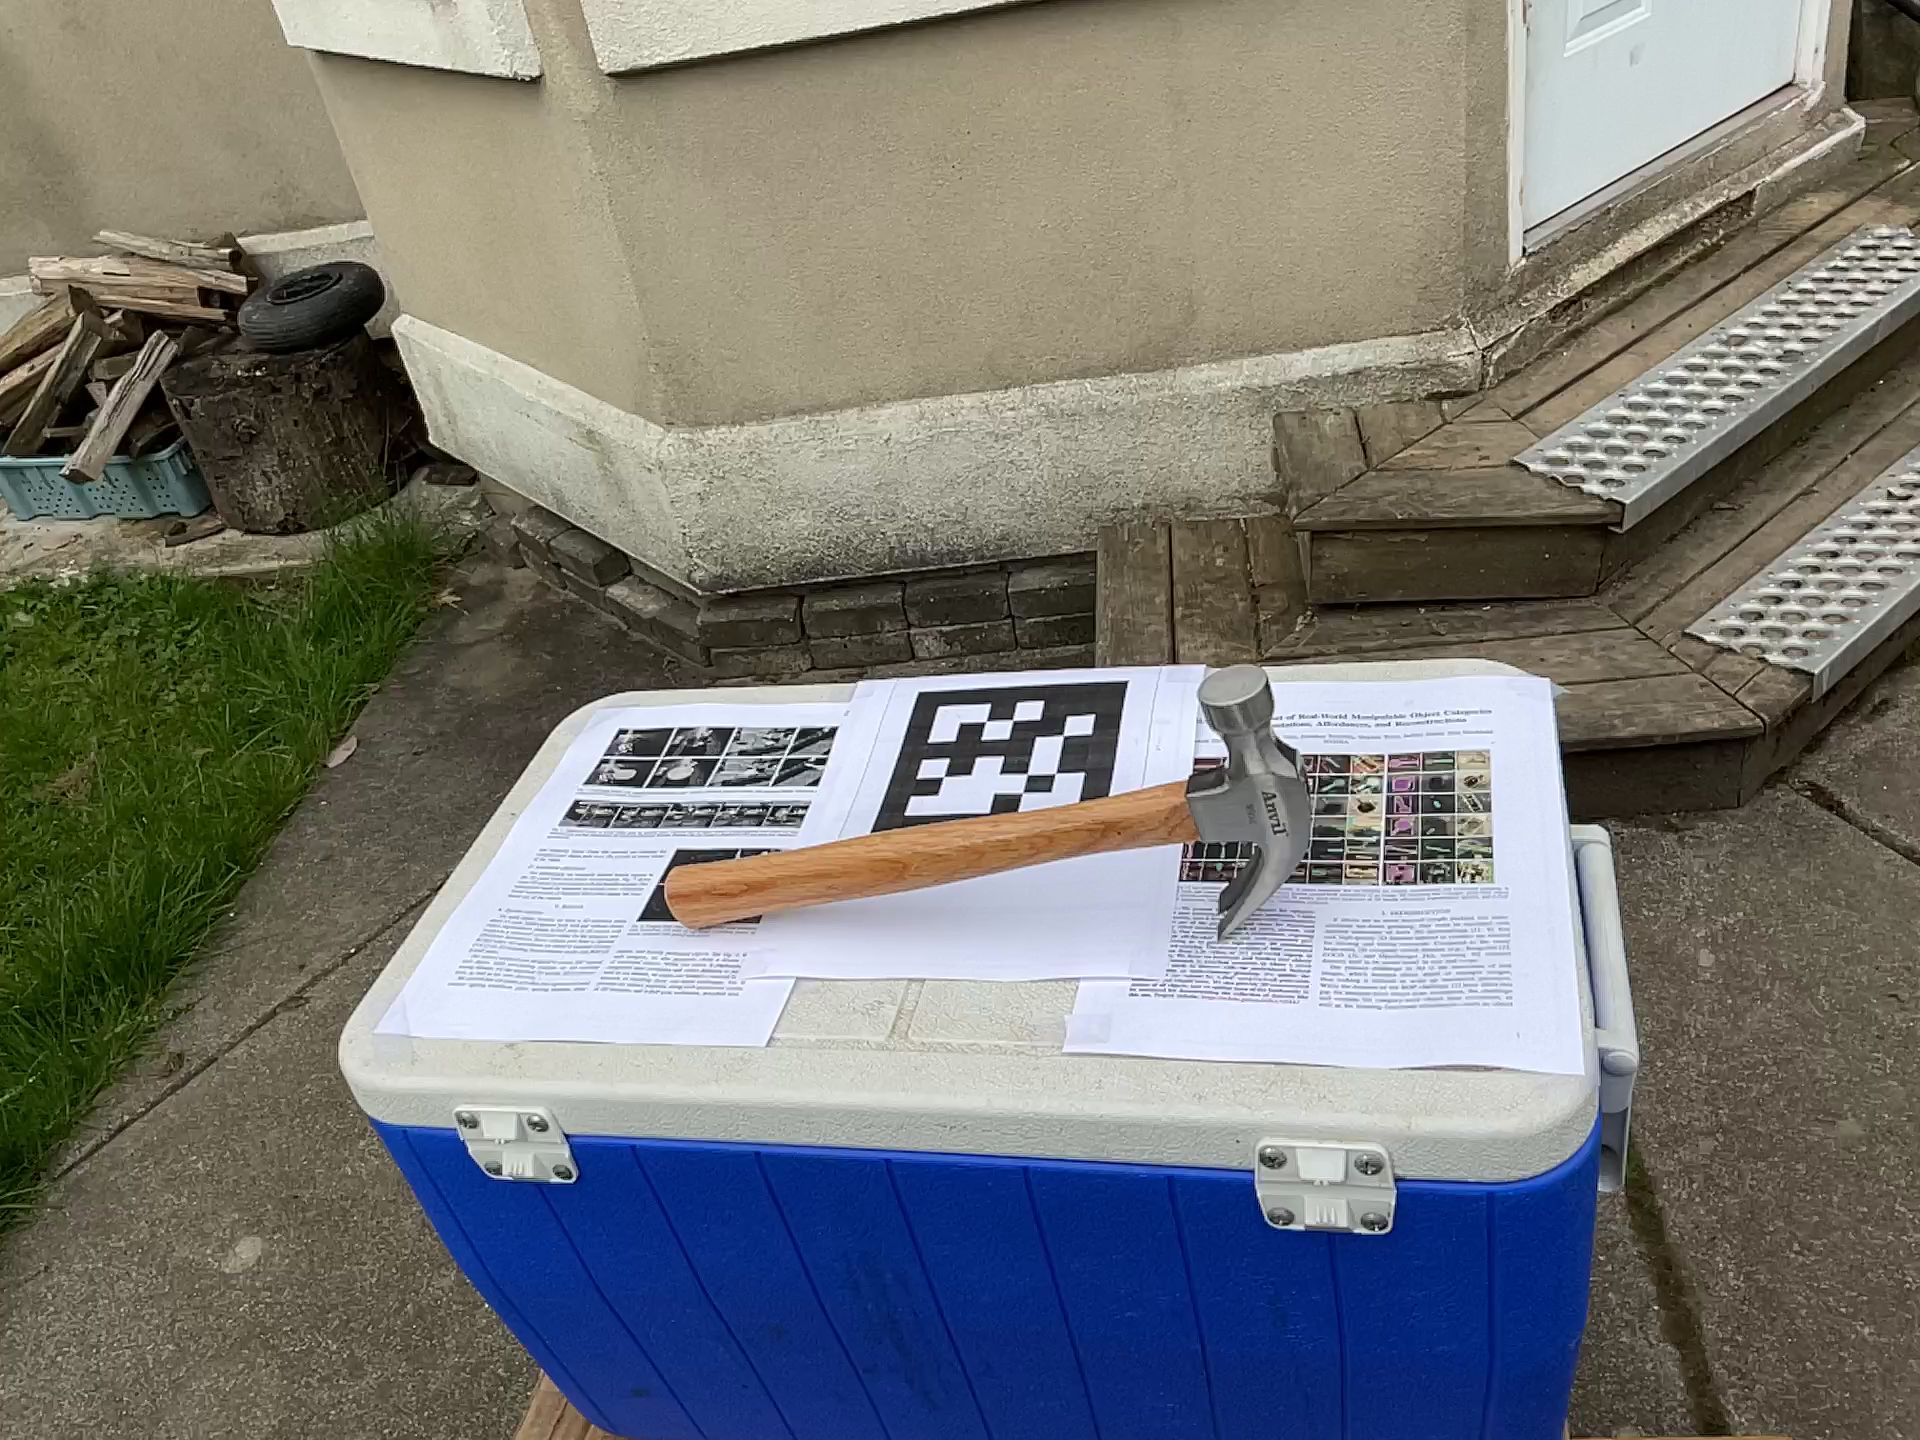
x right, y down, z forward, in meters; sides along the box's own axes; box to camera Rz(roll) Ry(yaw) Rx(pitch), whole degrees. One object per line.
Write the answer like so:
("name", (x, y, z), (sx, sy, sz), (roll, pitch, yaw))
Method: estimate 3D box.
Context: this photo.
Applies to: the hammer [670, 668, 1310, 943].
("hammer", (0.006, 0.065, 0.778), (0.331, 0.129, 0.031), (-12, 31, 22))
